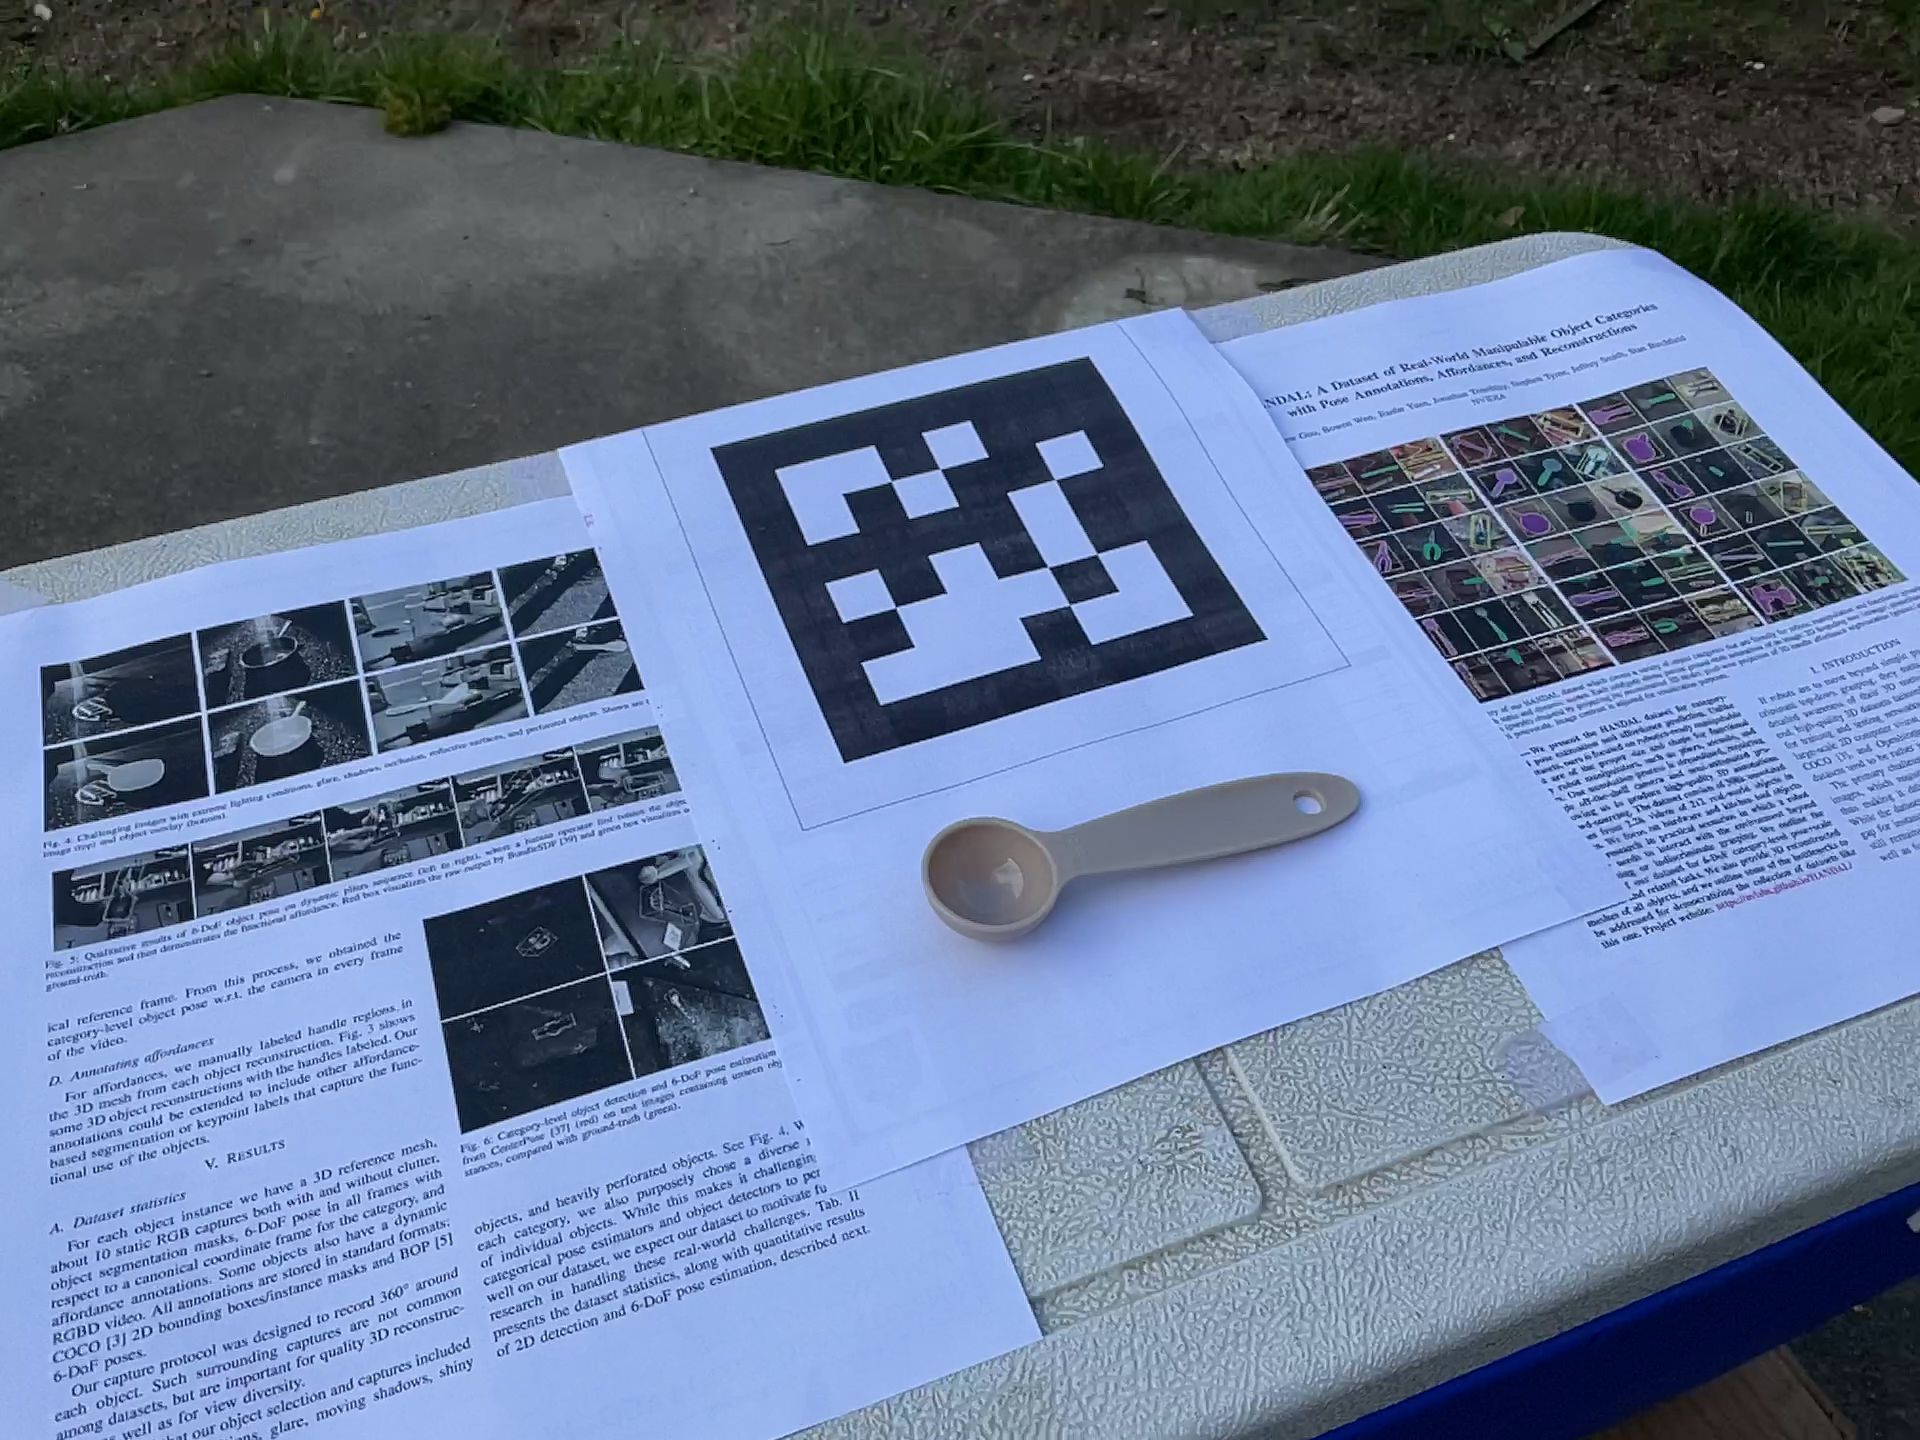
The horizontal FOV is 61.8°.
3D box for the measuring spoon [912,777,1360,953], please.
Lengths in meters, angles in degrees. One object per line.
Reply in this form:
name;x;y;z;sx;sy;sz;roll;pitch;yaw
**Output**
measuring spoon;0.046;0.035;0.403;0.124;0.018;0.034;-11;51;-20
